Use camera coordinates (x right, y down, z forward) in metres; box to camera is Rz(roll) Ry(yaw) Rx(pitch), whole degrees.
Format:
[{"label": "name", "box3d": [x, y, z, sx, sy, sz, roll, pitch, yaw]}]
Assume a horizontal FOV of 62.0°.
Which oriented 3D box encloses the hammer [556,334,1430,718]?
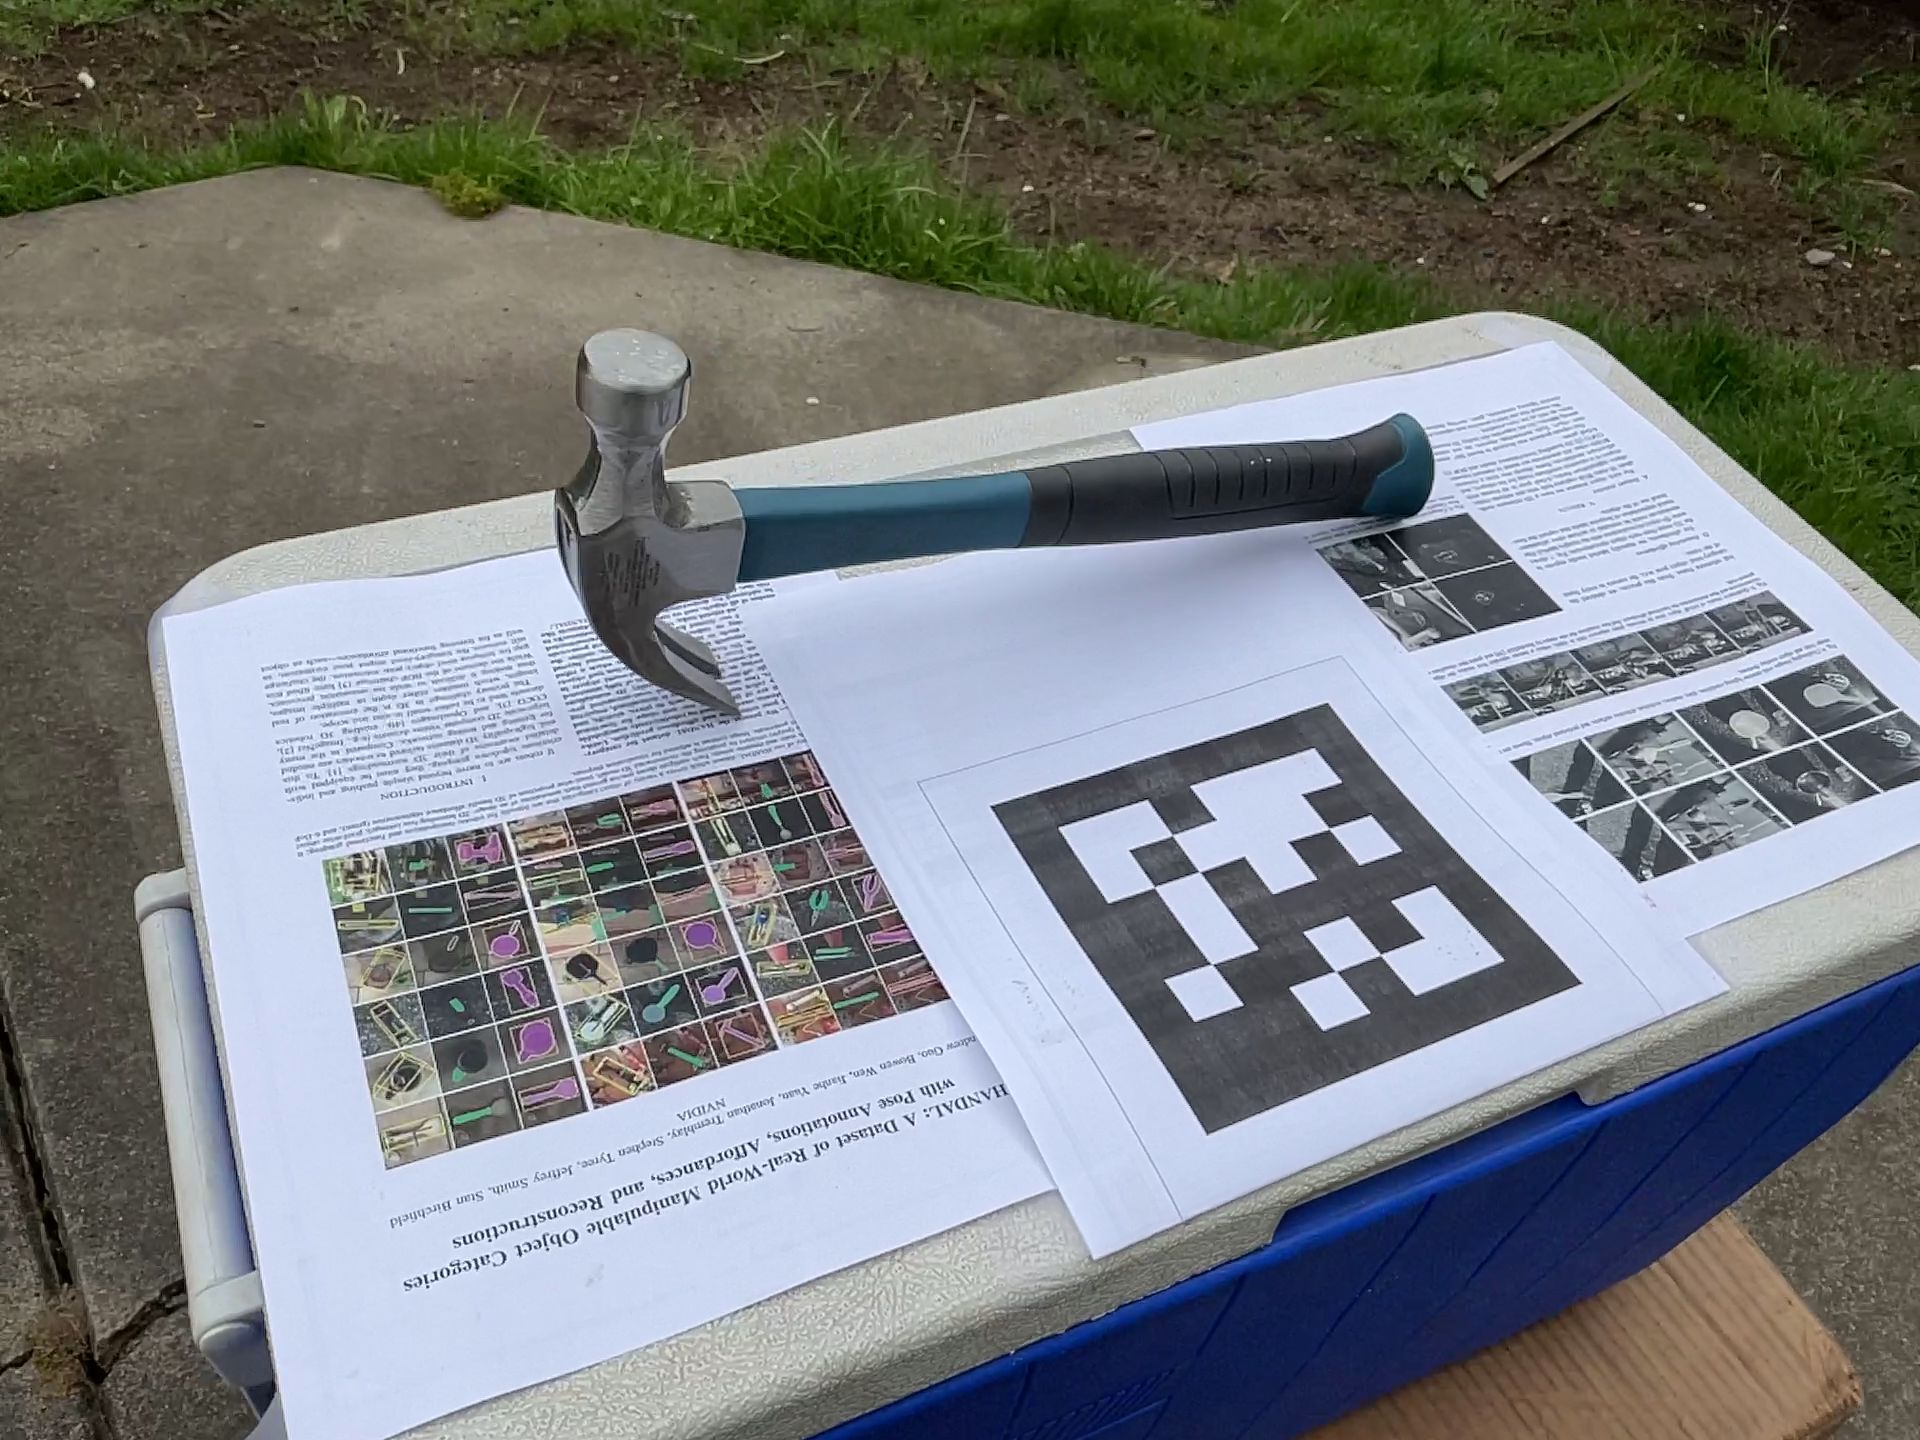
[{"label": "hammer", "box3d": [0.030, -0.072, 0.535, 0.331, 0.128, 0.033, -9, 49, -28]}]
